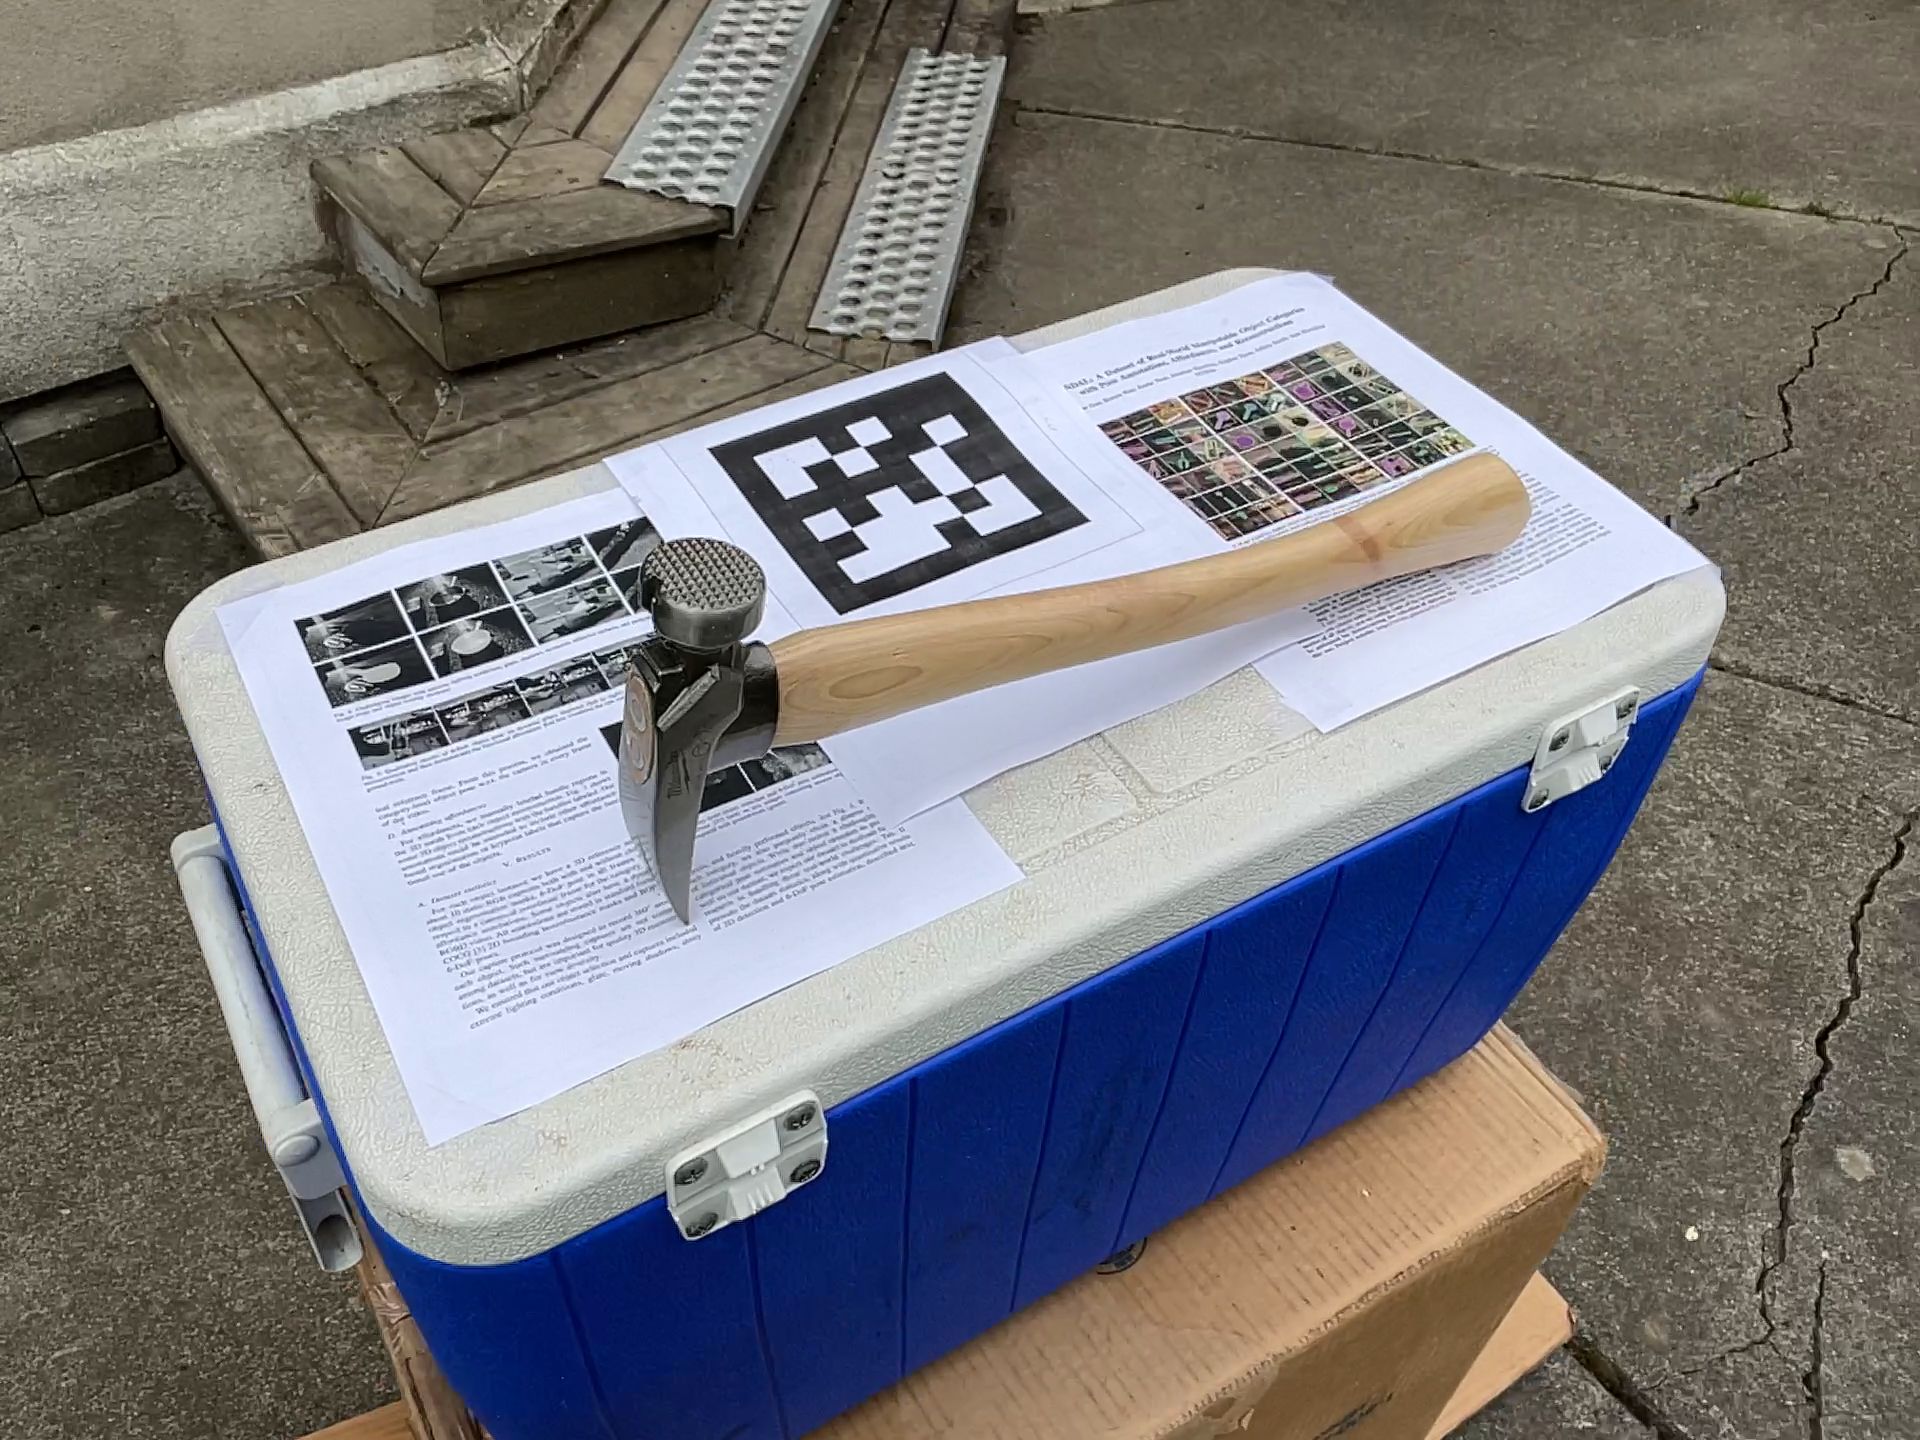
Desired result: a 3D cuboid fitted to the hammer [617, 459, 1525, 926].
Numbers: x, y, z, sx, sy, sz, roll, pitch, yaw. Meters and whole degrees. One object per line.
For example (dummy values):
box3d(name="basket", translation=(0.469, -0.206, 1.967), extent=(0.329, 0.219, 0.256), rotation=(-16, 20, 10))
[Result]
box3d(name="hammer", translation=(0.065, -0.034, 0.618), extent=(0.410, 0.146, 0.038), rotation=(-15, 48, -30))
